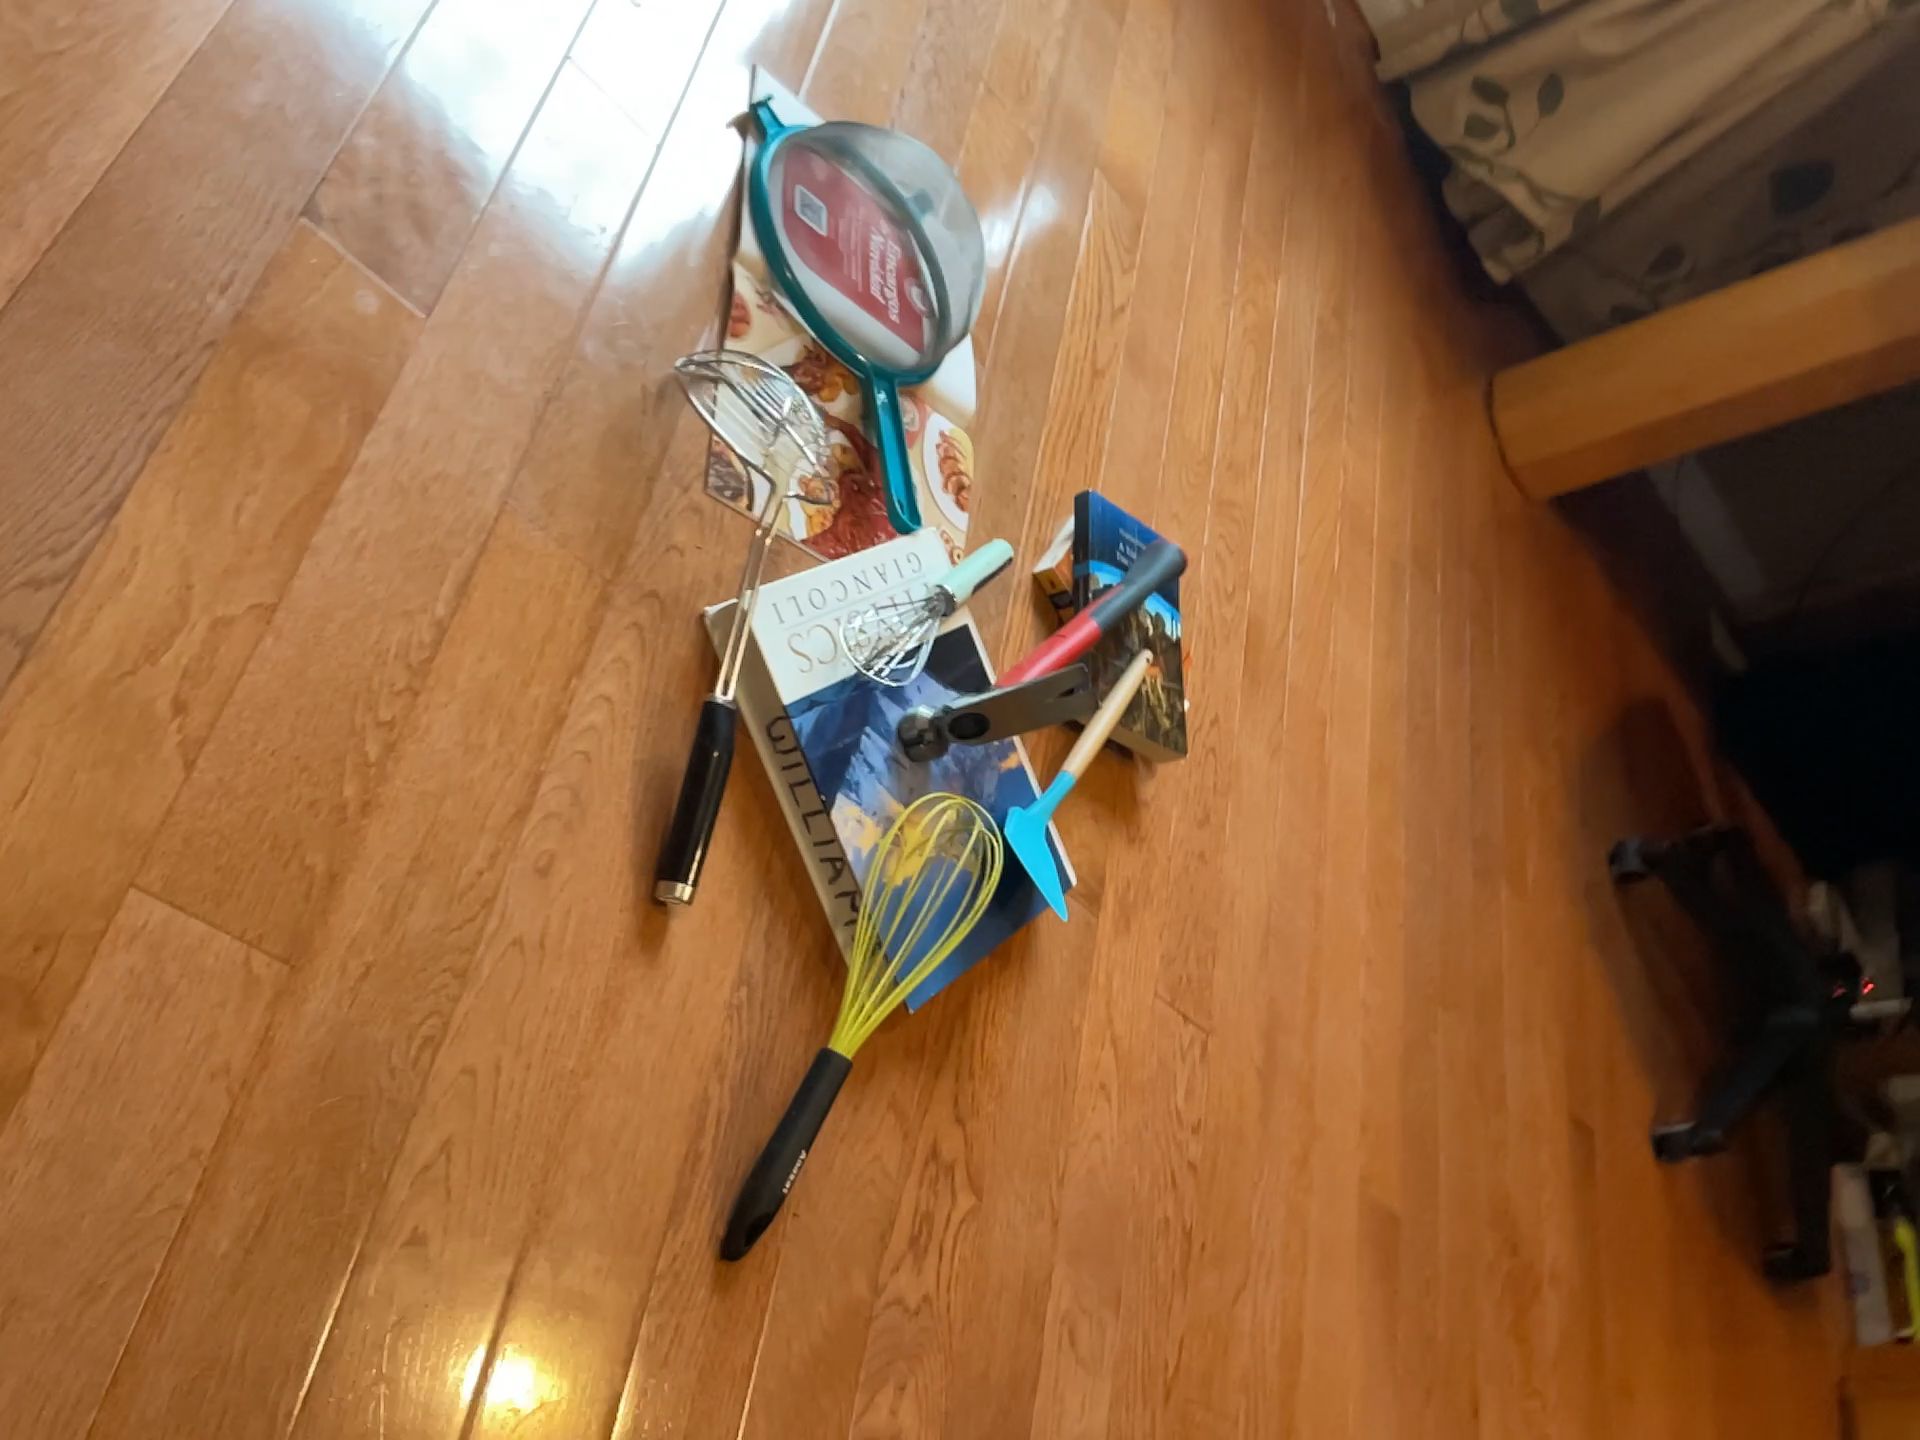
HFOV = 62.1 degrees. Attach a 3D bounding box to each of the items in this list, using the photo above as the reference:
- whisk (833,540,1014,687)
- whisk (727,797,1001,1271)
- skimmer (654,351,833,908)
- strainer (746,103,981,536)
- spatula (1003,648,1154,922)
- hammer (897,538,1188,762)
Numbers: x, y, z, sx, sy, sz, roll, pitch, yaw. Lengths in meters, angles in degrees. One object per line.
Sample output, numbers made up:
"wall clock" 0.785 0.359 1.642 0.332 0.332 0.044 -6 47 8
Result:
"whisk" -0.017 -0.078 1.088 0.059 0.057 0.247 37 34 6
"whisk" -0.060 0.176 0.938 0.312 0.067 0.080 -62 140 -27
"skimmer" -0.152 -0.063 0.978 0.127 0.090 0.364 30 63 -44
"strainer" -0.038 -0.300 1.156 0.211 0.095 0.341 14 57 -49
"spatula" 0.097 0.028 1.181 0.082 0.044 0.318 56 39 -16
"hammer" 0.104 -0.069 1.167 0.387 0.143 0.038 -39 110 -55
